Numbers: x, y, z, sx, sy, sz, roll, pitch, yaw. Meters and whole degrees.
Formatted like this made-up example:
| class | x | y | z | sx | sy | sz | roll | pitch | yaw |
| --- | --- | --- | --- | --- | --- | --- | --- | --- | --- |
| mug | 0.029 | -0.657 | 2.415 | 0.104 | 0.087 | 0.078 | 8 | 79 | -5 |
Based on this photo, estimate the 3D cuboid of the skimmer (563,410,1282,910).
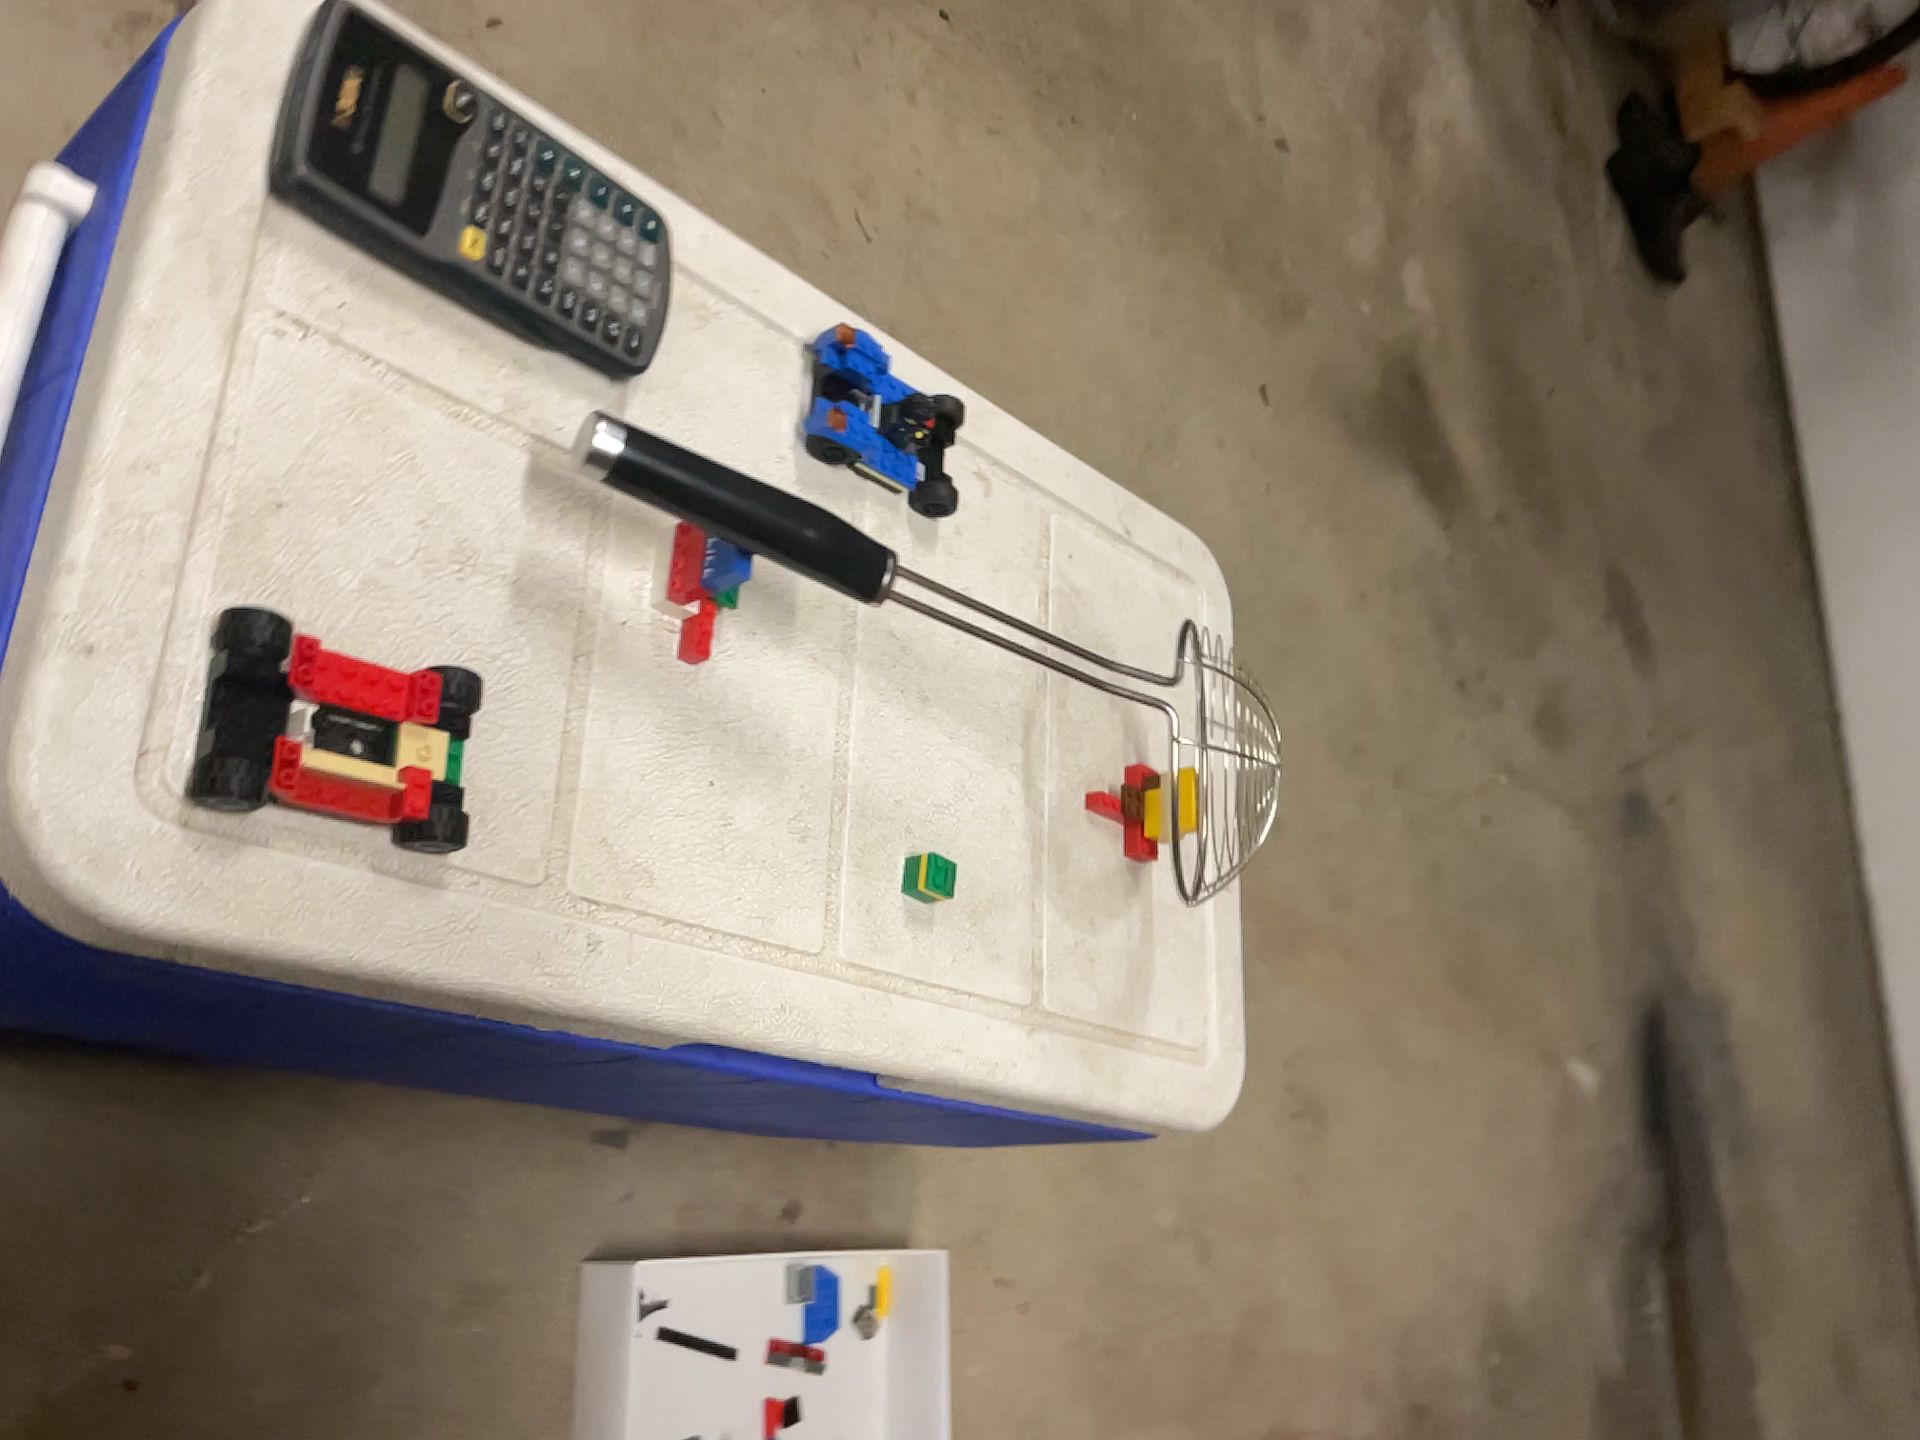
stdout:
| class | x | y | z | sx | sy | sz | roll | pitch | yaw |
| --- | --- | --- | --- | --- | --- | --- | --- | --- | --- |
| skimmer | 0.000 | -0.024 | 0.639 | 0.363 | 0.090 | 0.127 | 22 | 61 | -31 |
